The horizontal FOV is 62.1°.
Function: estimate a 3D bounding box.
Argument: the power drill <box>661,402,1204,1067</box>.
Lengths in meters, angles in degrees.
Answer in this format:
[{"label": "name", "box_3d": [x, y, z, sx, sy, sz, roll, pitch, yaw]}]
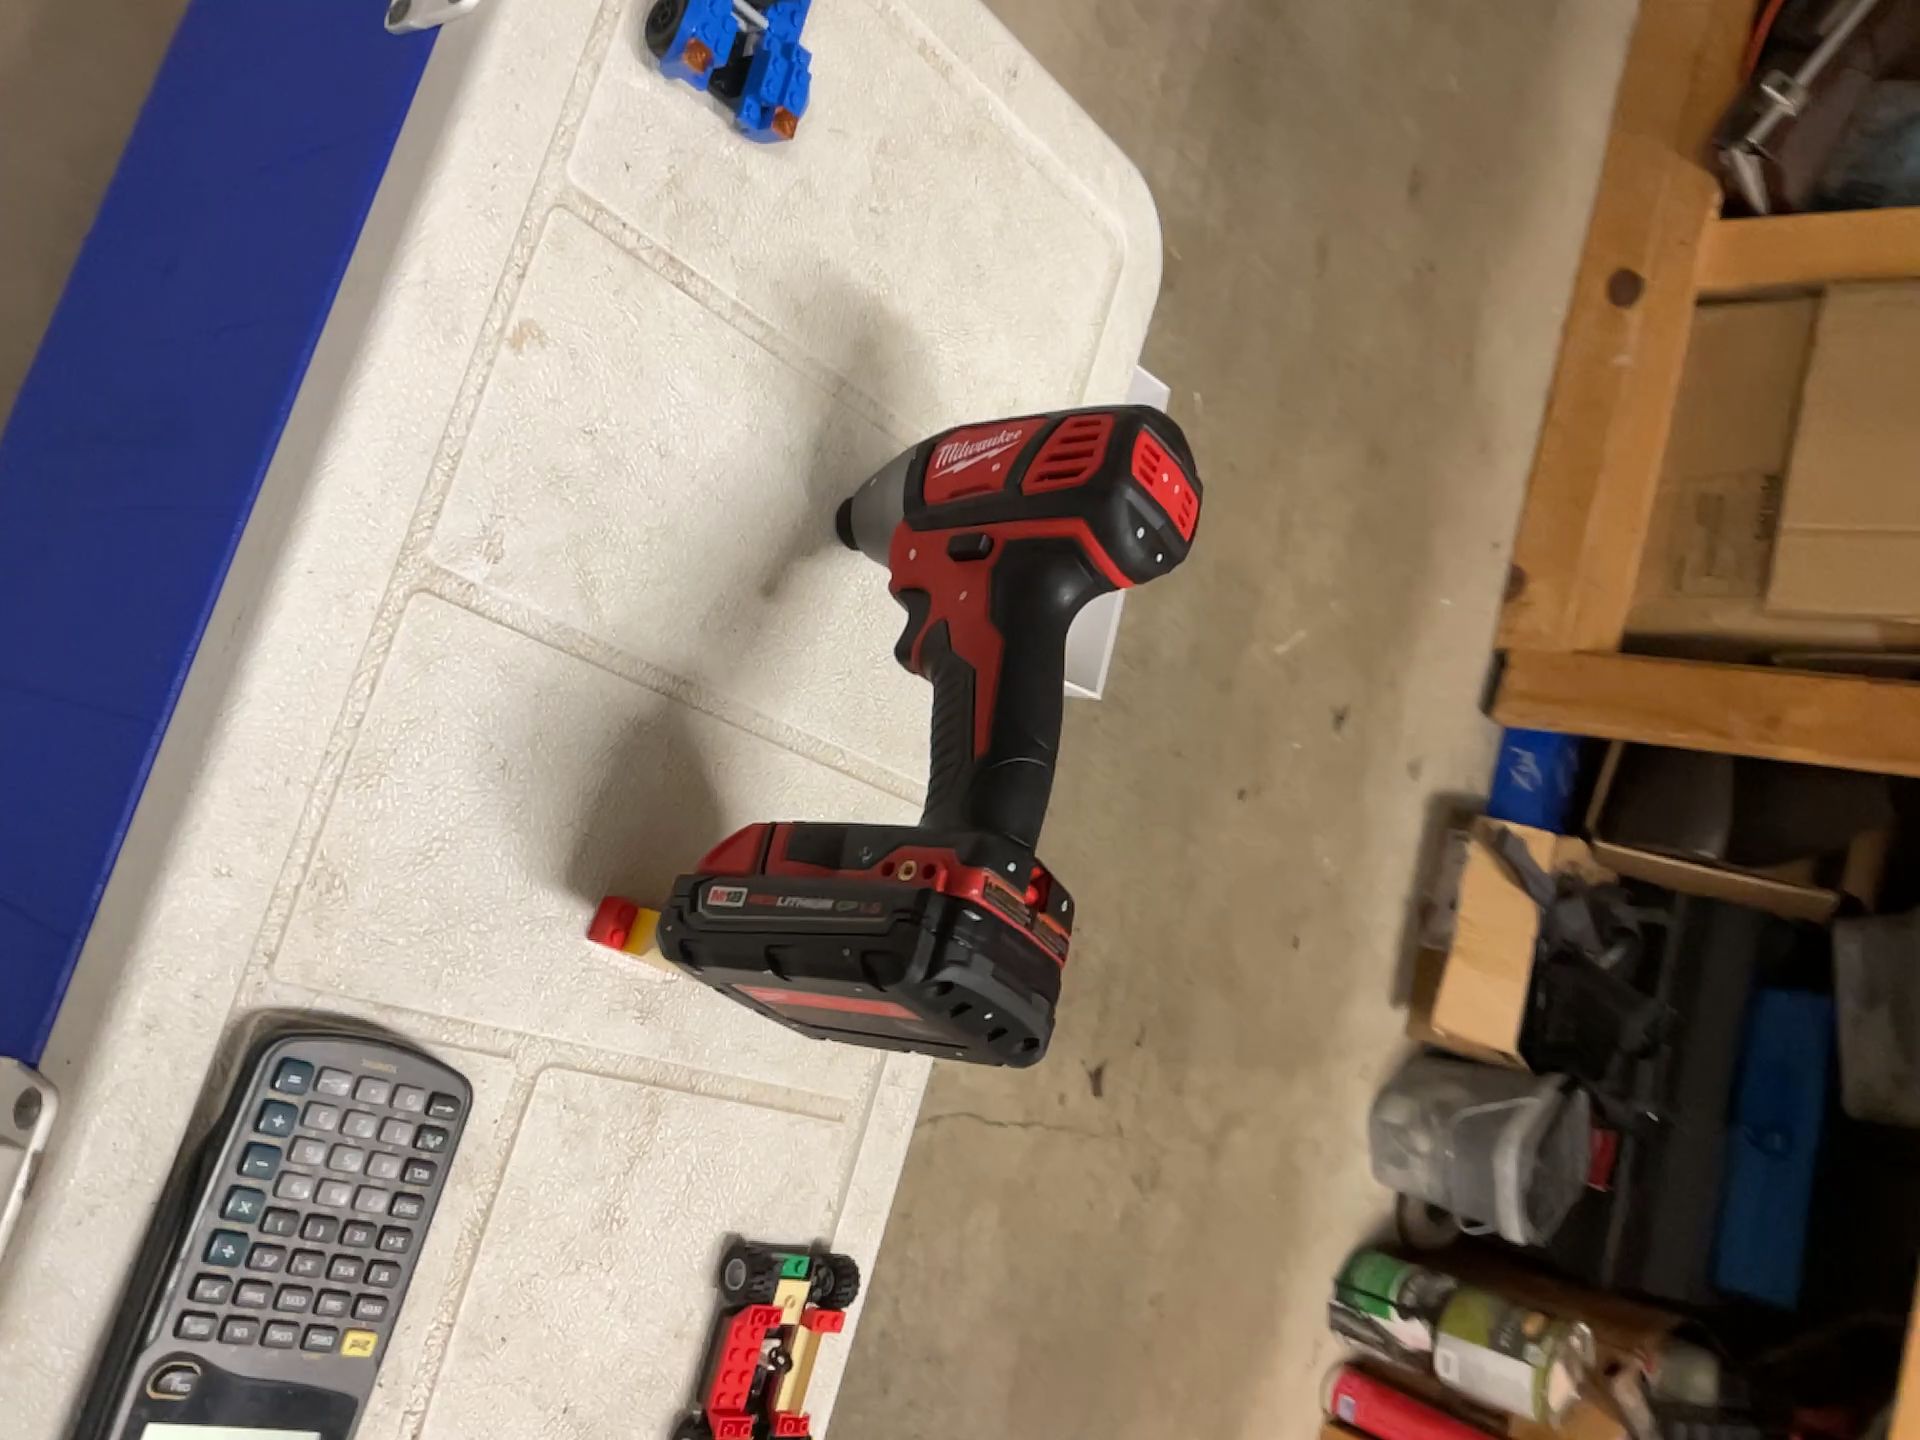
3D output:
[{"label": "power drill", "box_3d": [-0.009, -0.006, 0.537, 0.078, 0.143, 0.220, 42, 58, -45]}]
